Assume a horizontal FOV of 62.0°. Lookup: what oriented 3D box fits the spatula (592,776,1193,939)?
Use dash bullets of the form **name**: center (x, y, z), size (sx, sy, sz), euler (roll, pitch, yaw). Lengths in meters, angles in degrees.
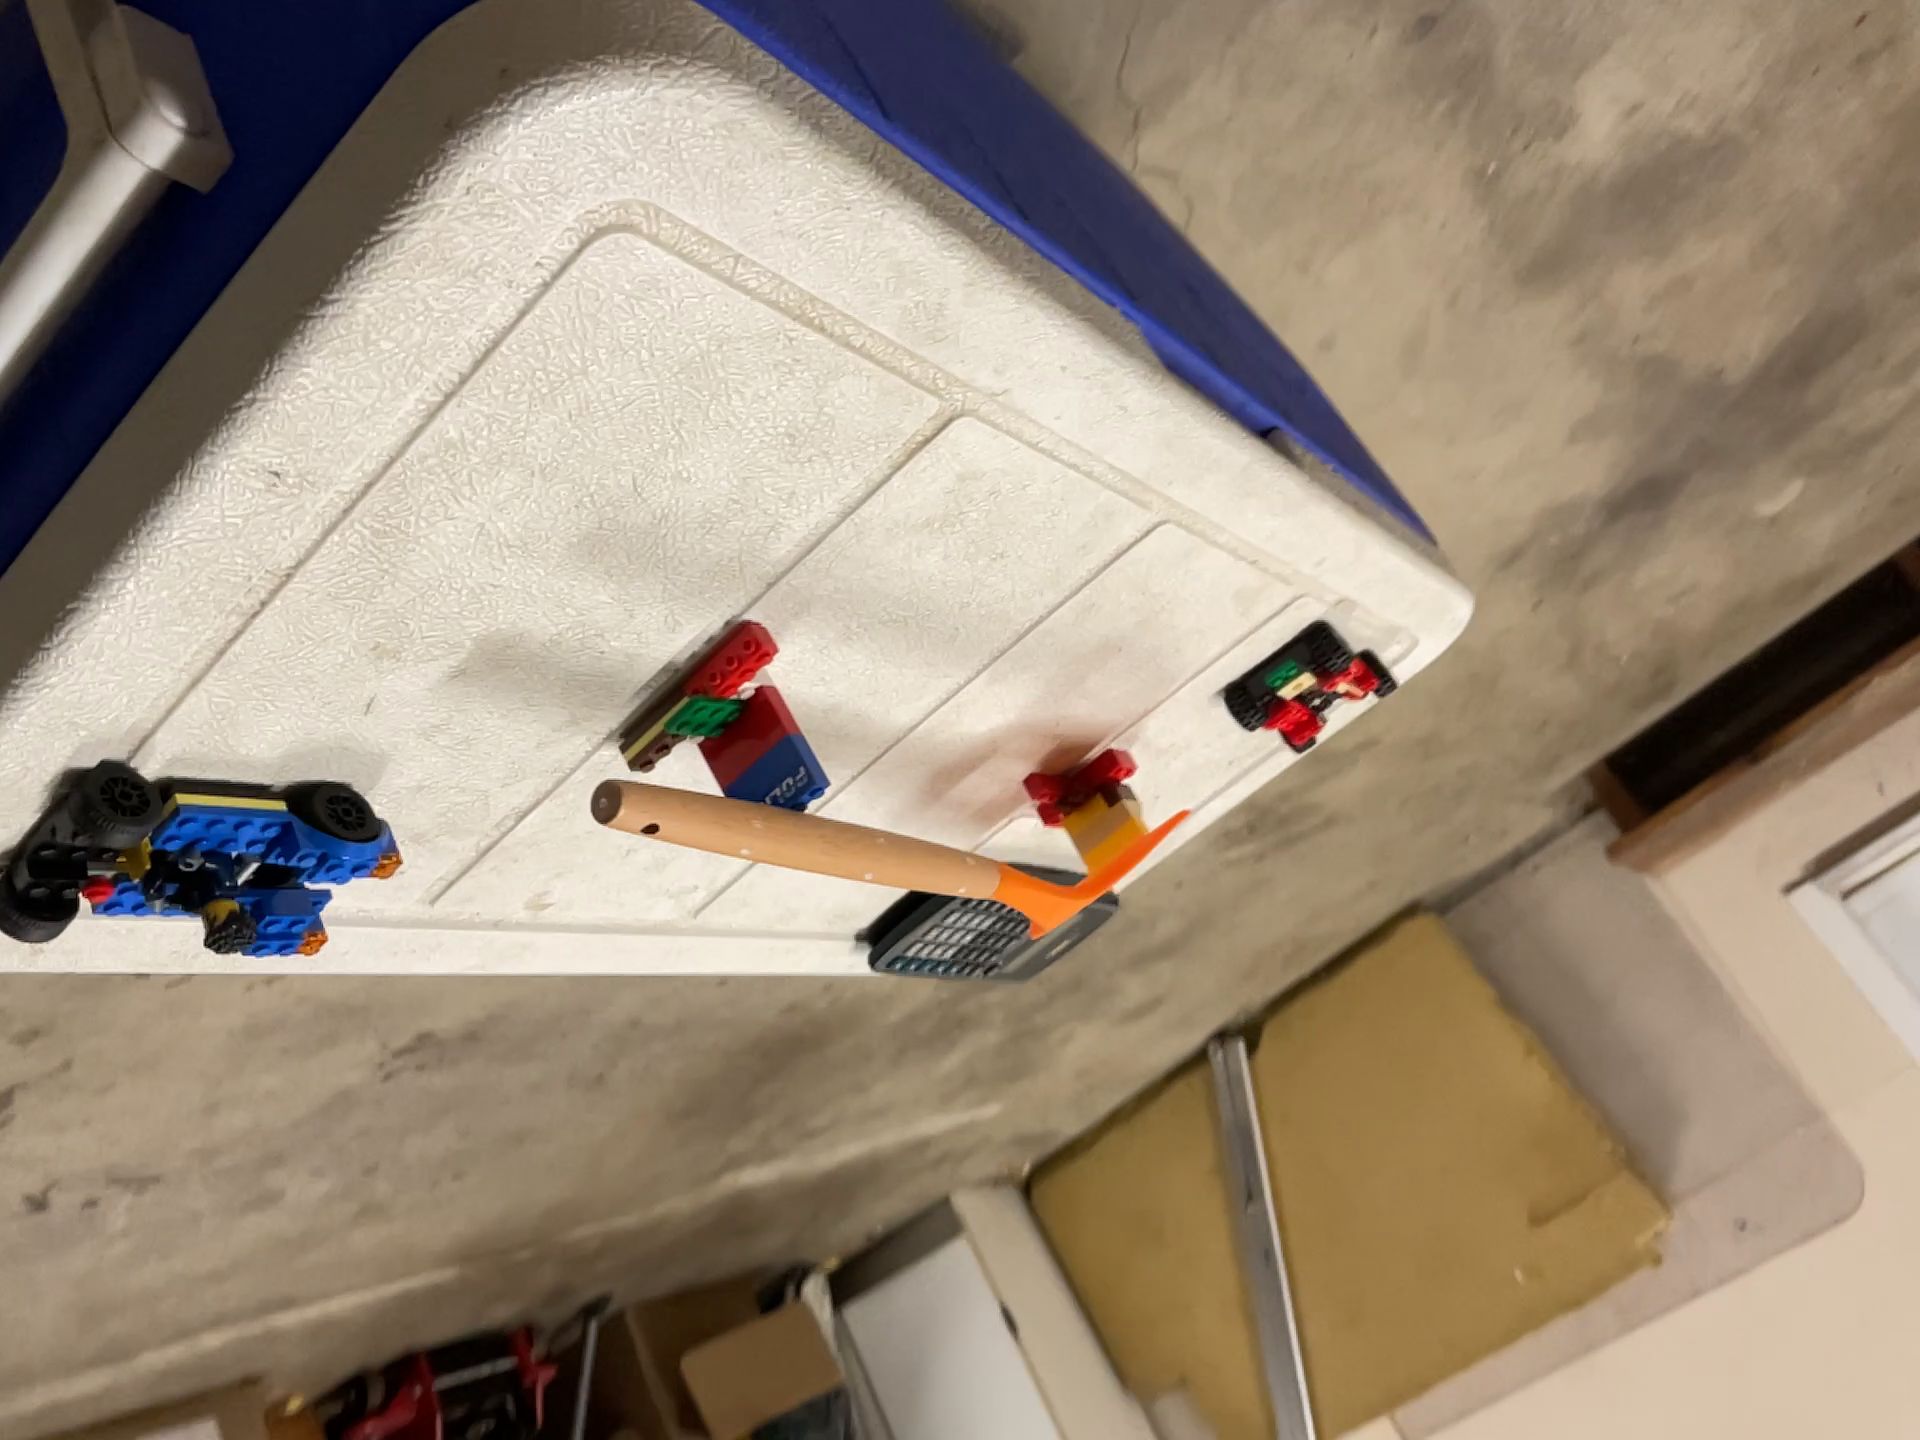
- **spatula**: center (-0.009, 0.045, 0.564), size (0.081, 0.041, 0.322), euler (-39, 150, 21)
